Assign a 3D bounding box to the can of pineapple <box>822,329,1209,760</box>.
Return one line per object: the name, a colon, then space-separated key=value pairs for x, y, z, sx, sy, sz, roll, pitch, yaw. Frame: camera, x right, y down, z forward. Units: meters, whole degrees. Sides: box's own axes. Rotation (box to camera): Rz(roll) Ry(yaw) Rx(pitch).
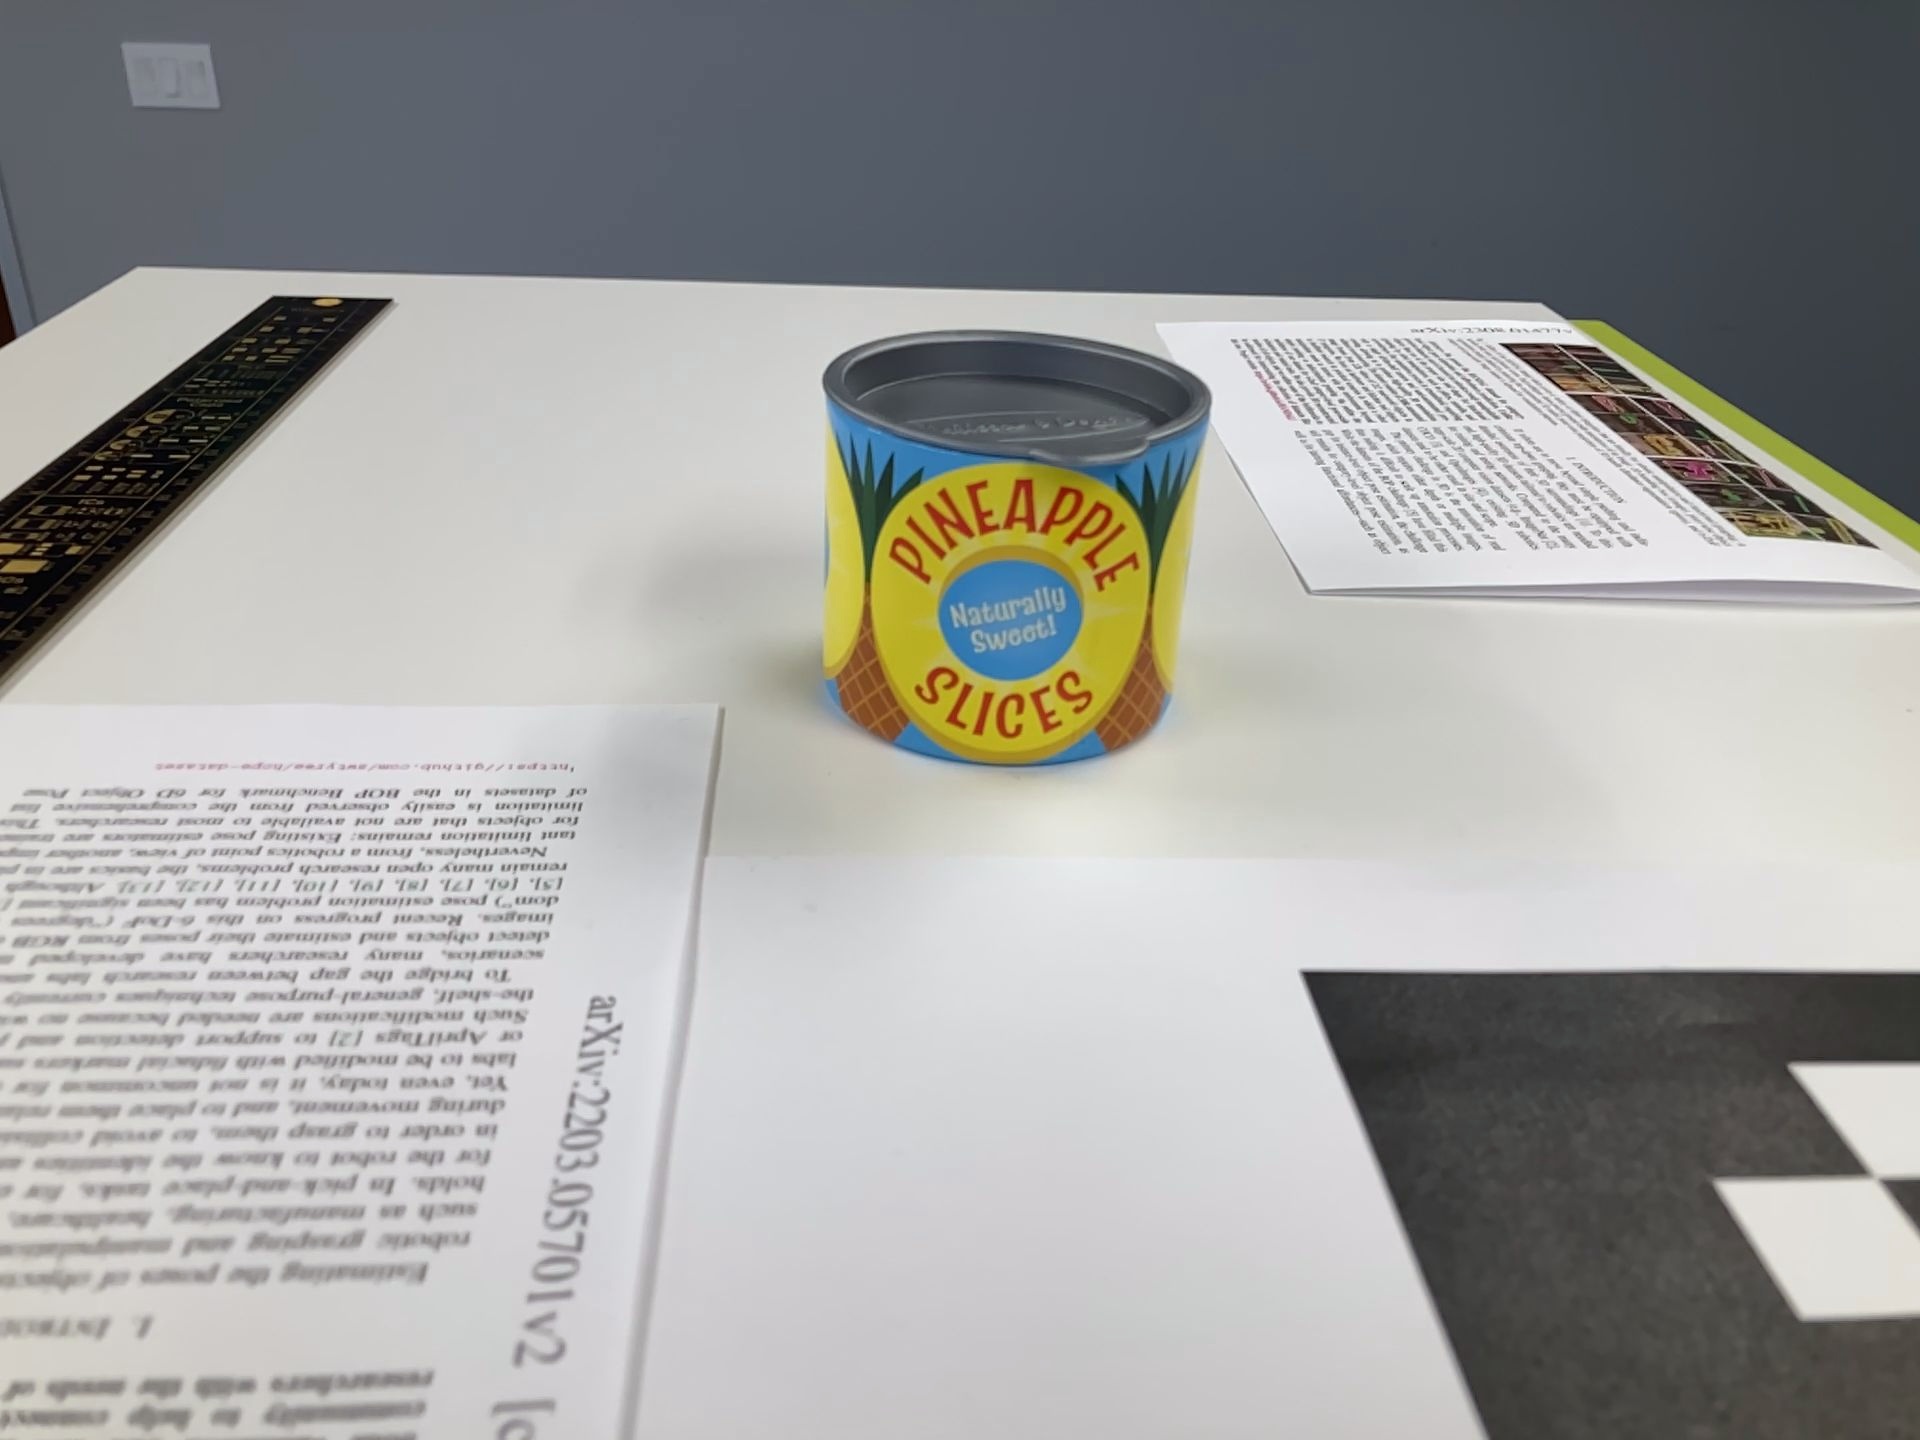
can of pineapple: x=0.009 y=-0.032 z=0.282 sx=0.071 sy=0.058 sz=0.071 roll=1 pitch=29 yaw=-1
